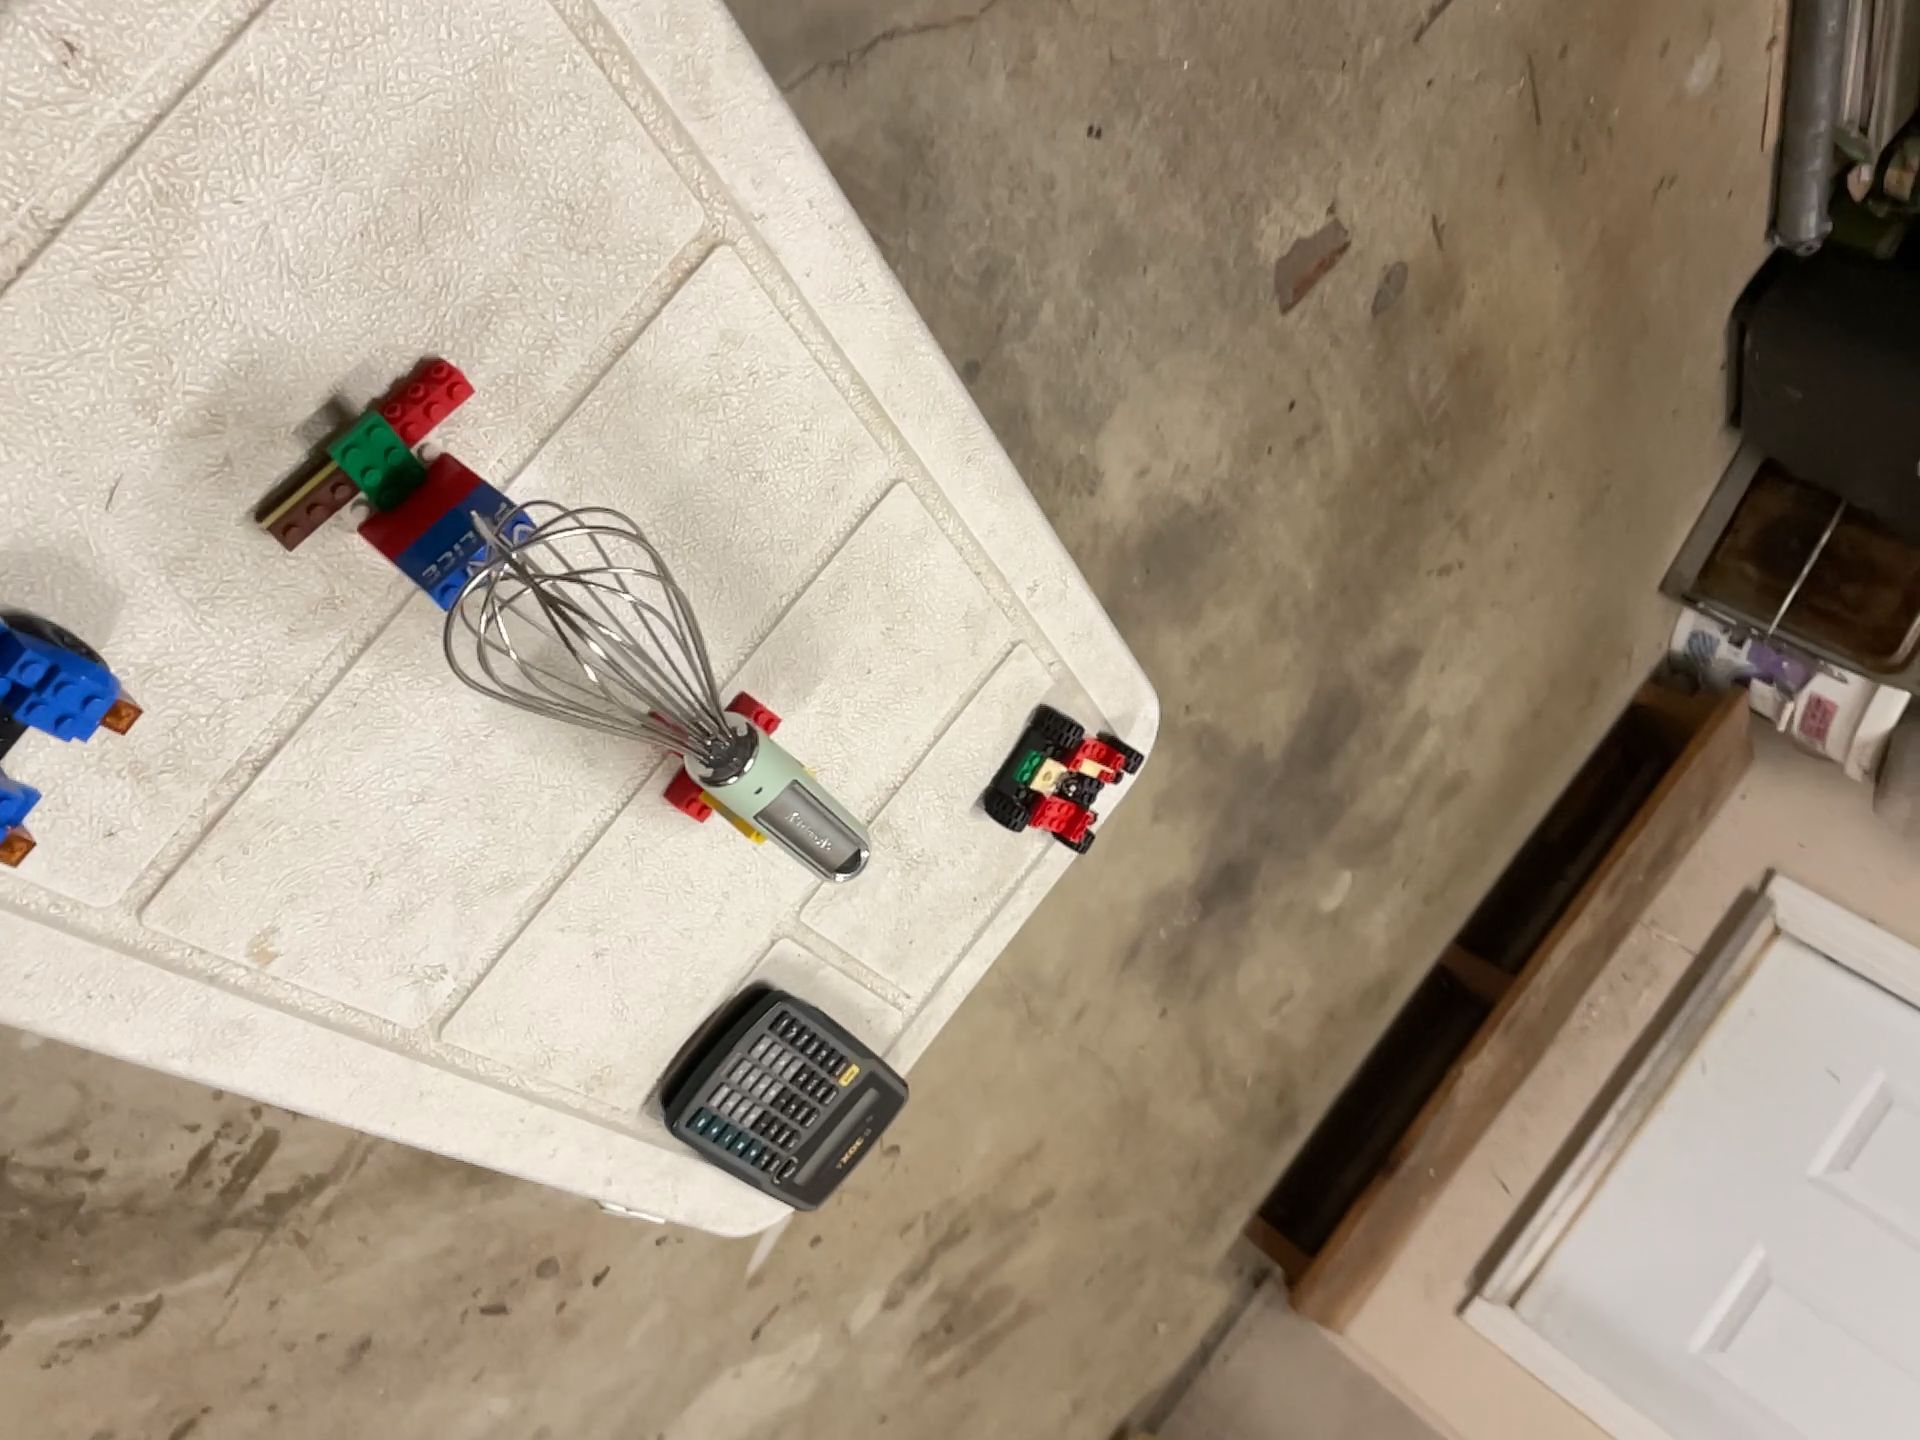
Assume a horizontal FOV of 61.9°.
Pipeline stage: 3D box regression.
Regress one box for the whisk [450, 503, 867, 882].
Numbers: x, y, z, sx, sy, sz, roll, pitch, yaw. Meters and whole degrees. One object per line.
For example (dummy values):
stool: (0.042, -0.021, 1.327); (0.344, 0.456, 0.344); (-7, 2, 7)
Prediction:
whisk: (-0.075, 0.006, 0.481); (0.058, 0.059, 0.246); (-44, 153, -4)
